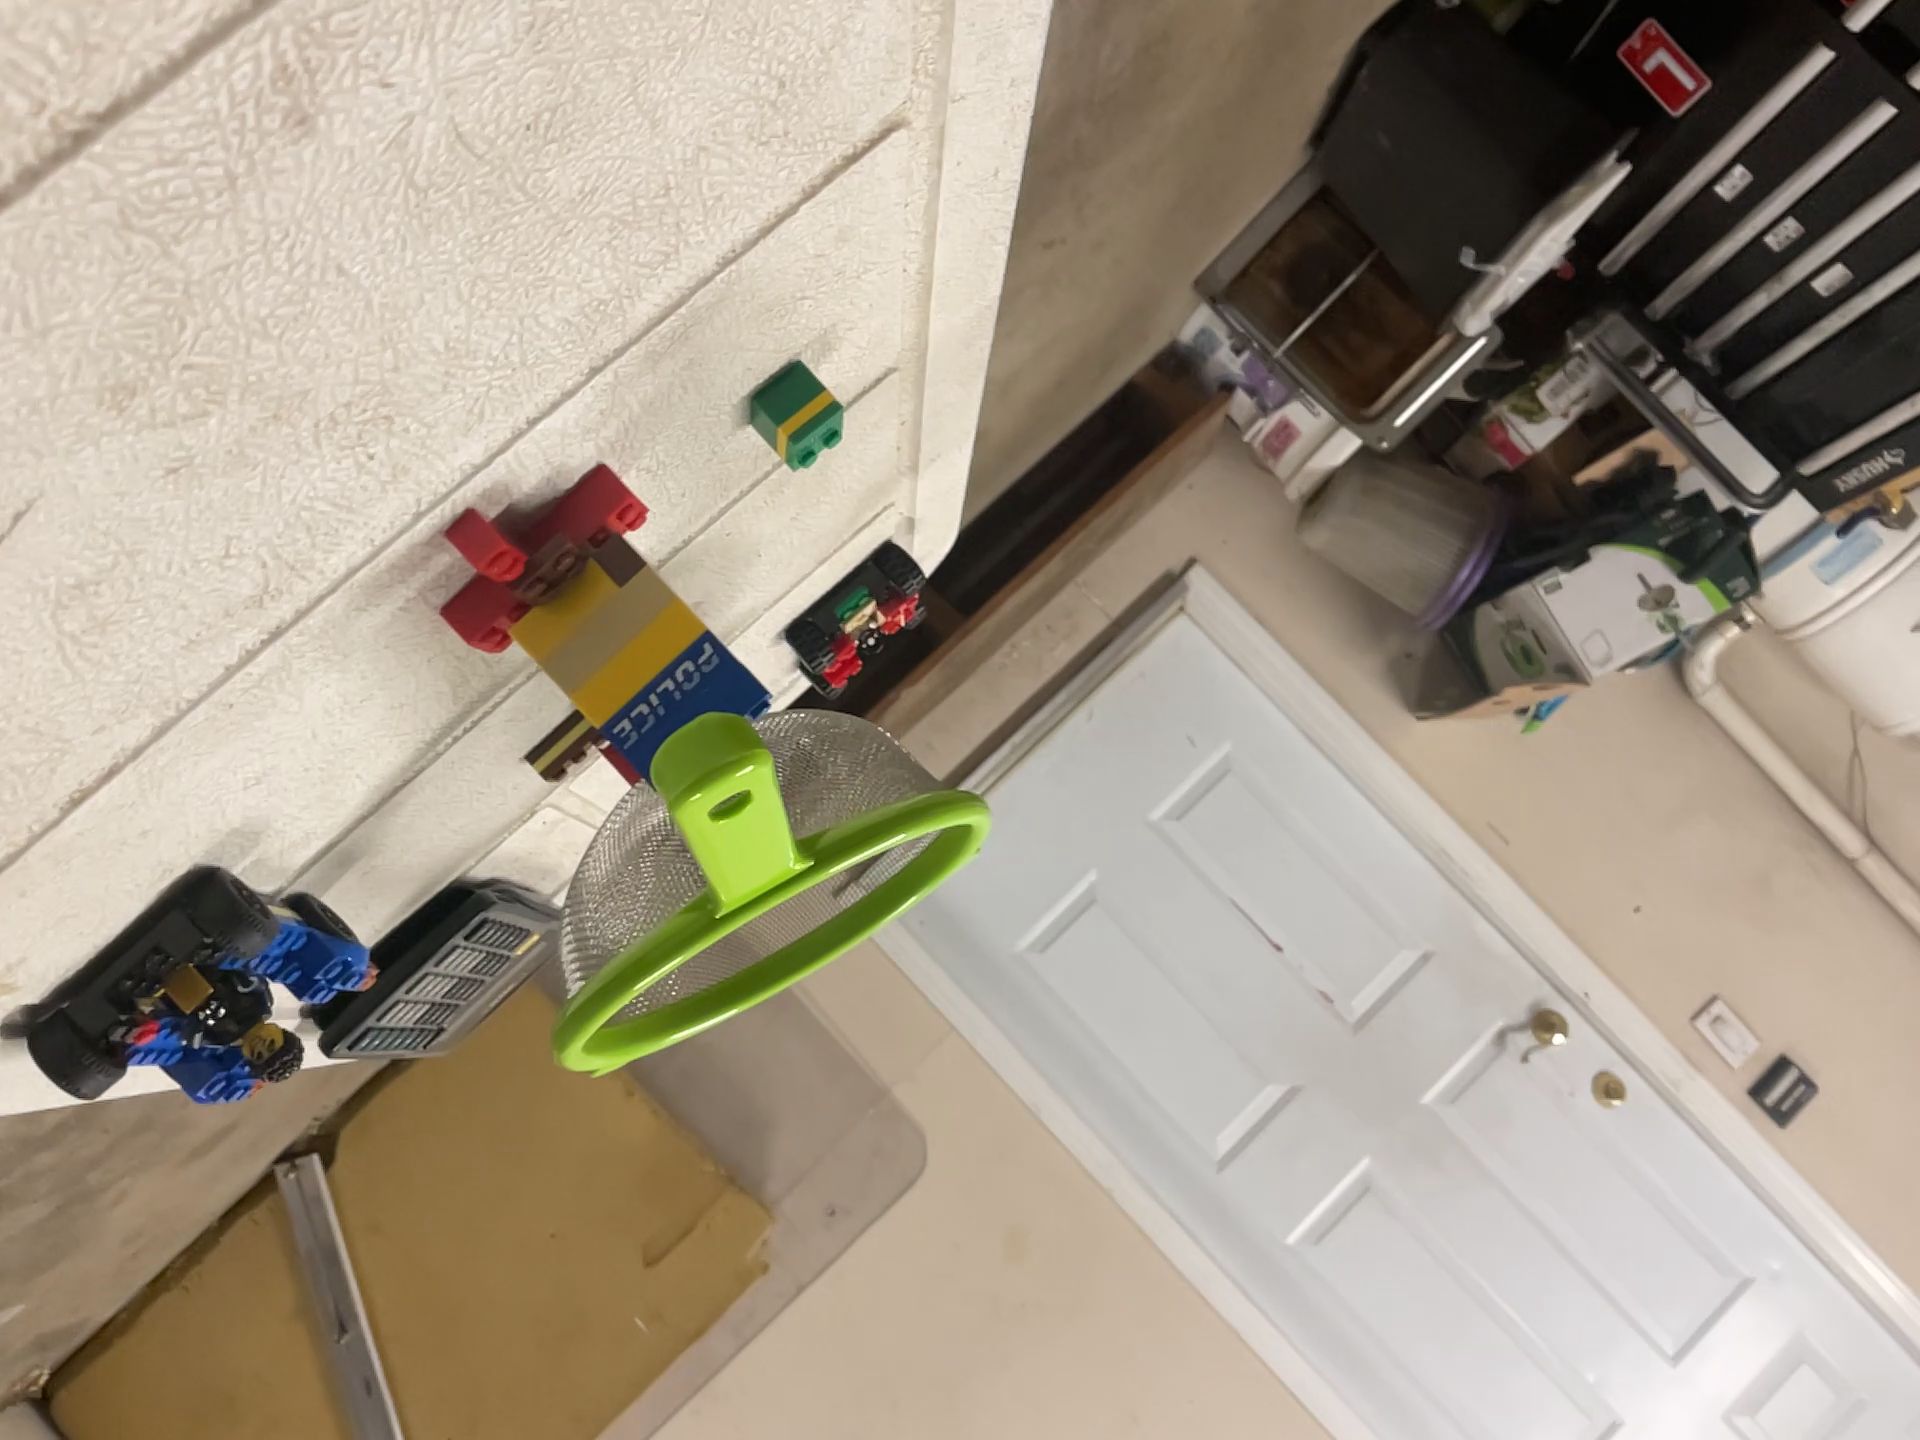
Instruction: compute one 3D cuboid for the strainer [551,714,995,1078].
[{"bbox_3d":[-0.068,0.027,0.448,0.151,0.069,0.256,-29,165,-11],"label":"strainer"}]
